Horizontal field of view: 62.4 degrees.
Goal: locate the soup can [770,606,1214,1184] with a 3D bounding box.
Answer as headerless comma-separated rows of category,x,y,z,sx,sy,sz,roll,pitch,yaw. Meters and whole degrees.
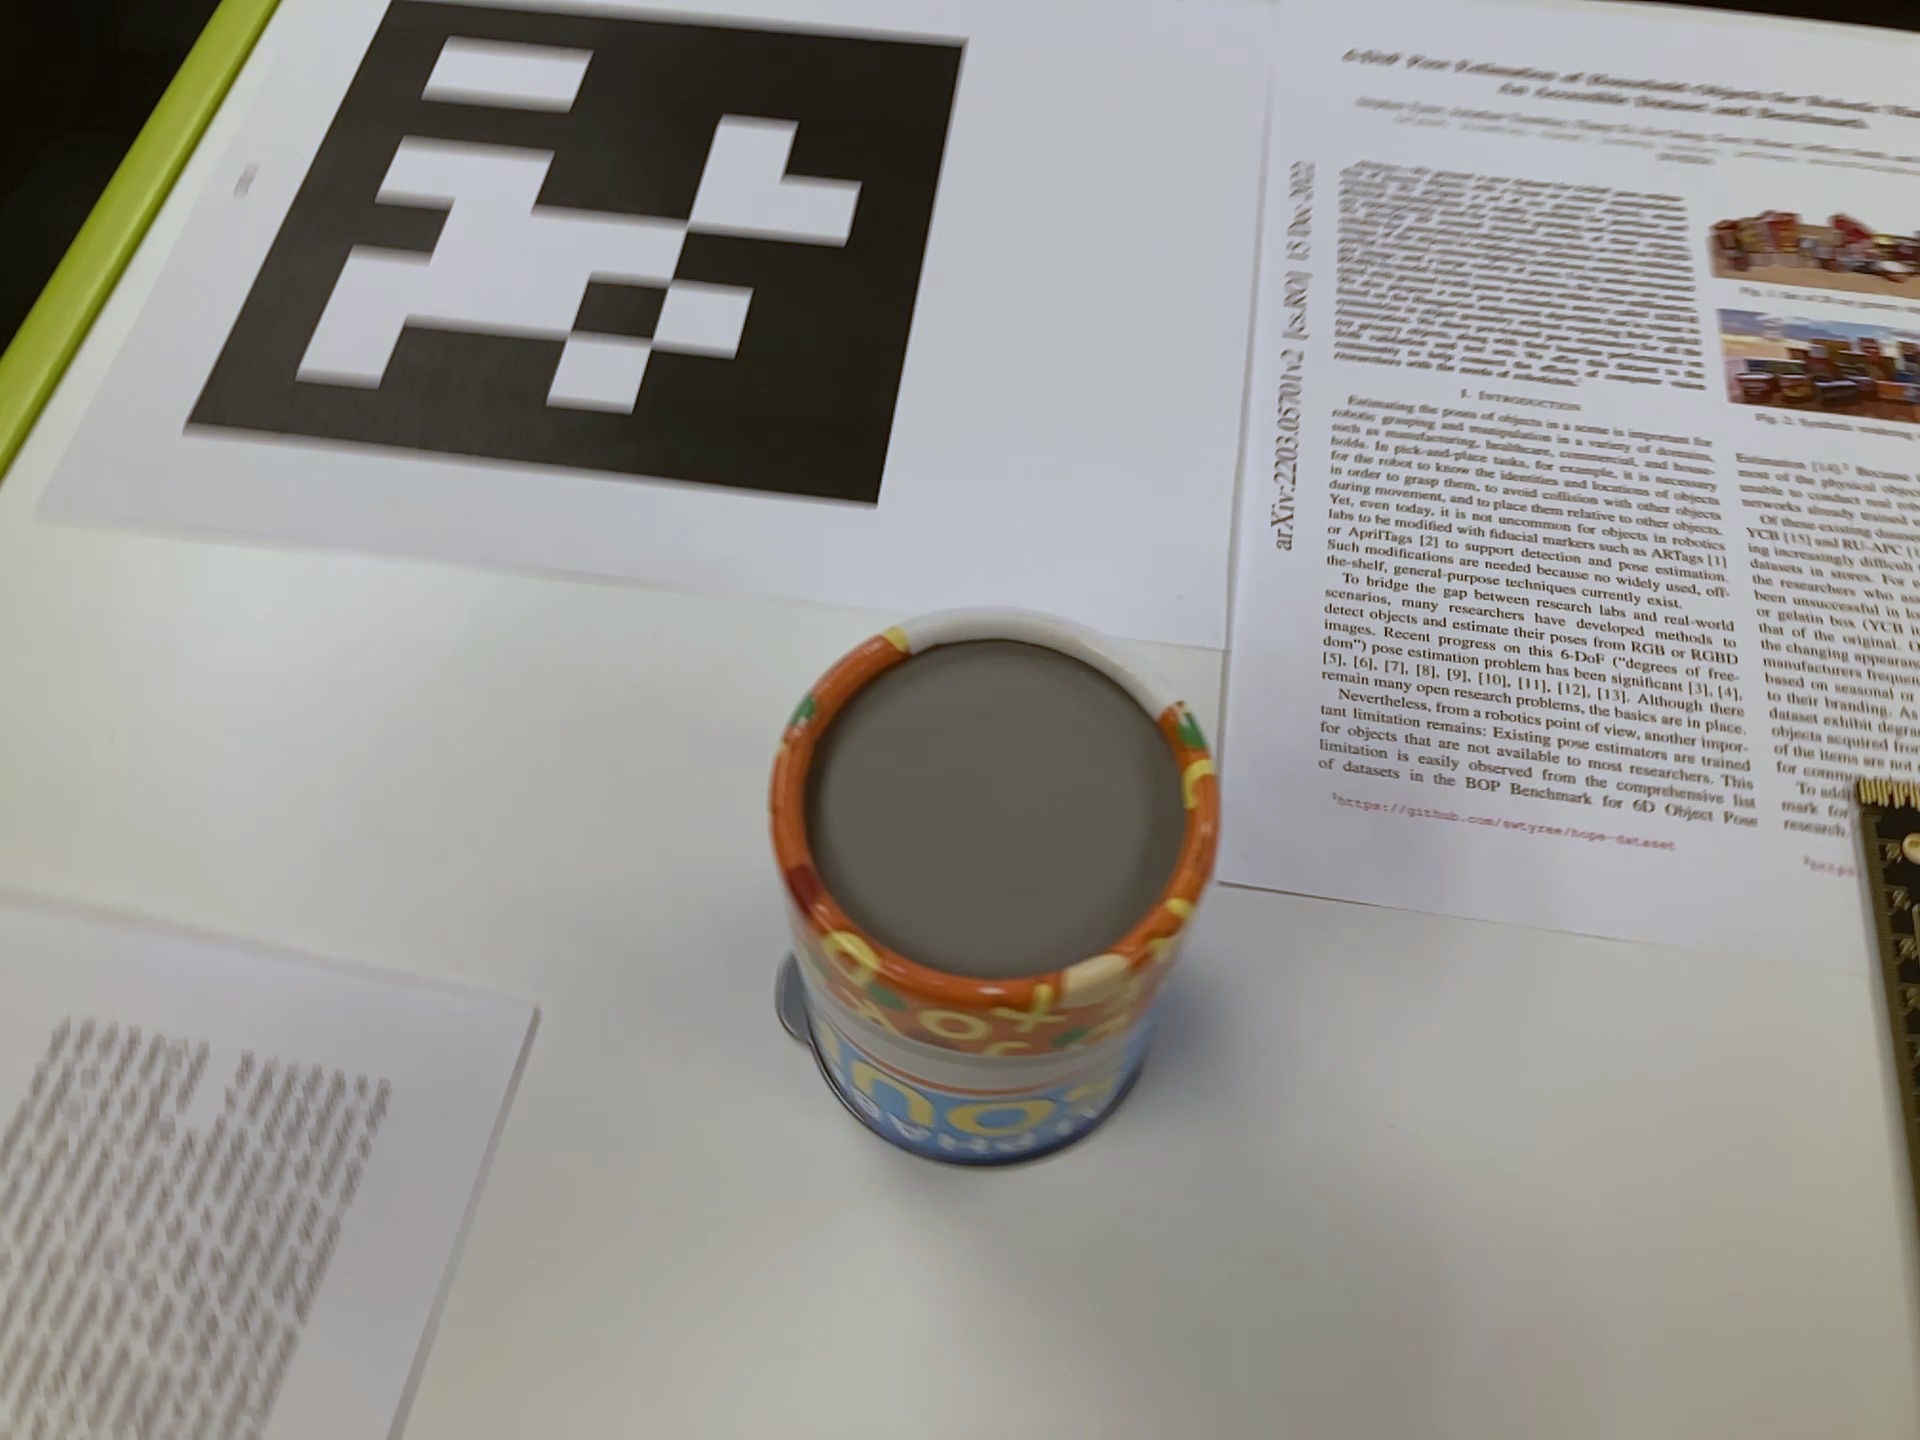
soup can,0.004,0.033,0.265,0.071,0.084,0.071,0,60,0
